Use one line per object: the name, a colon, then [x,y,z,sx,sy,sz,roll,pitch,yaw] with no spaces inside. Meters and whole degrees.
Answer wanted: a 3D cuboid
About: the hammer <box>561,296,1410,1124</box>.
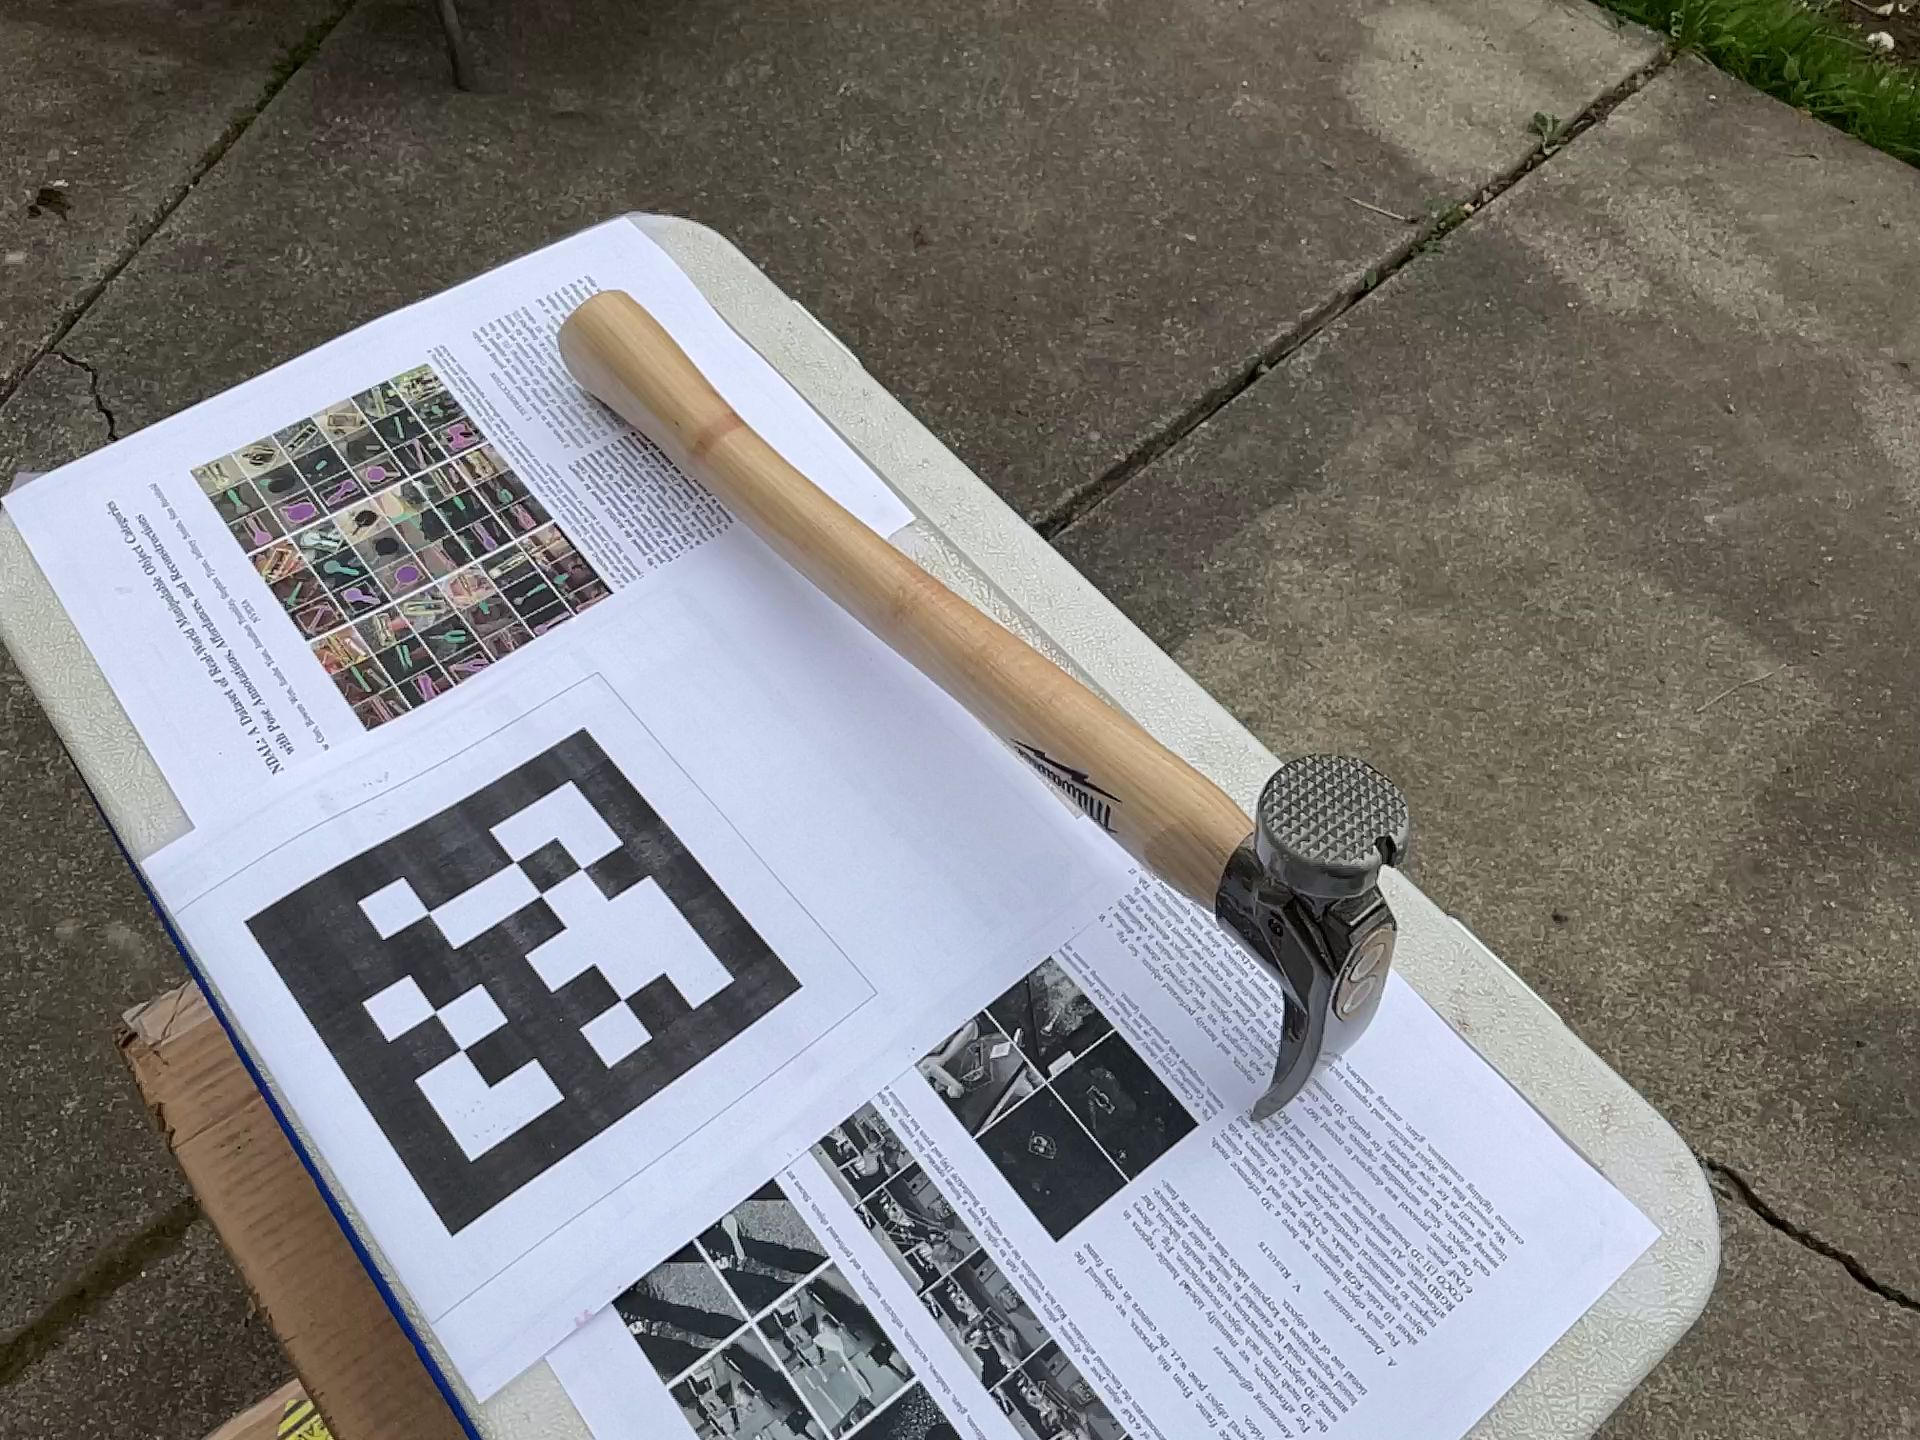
hammer: [-0.020,-0.033,0.558,0.038,0.146,0.411,-33,54,-23]
